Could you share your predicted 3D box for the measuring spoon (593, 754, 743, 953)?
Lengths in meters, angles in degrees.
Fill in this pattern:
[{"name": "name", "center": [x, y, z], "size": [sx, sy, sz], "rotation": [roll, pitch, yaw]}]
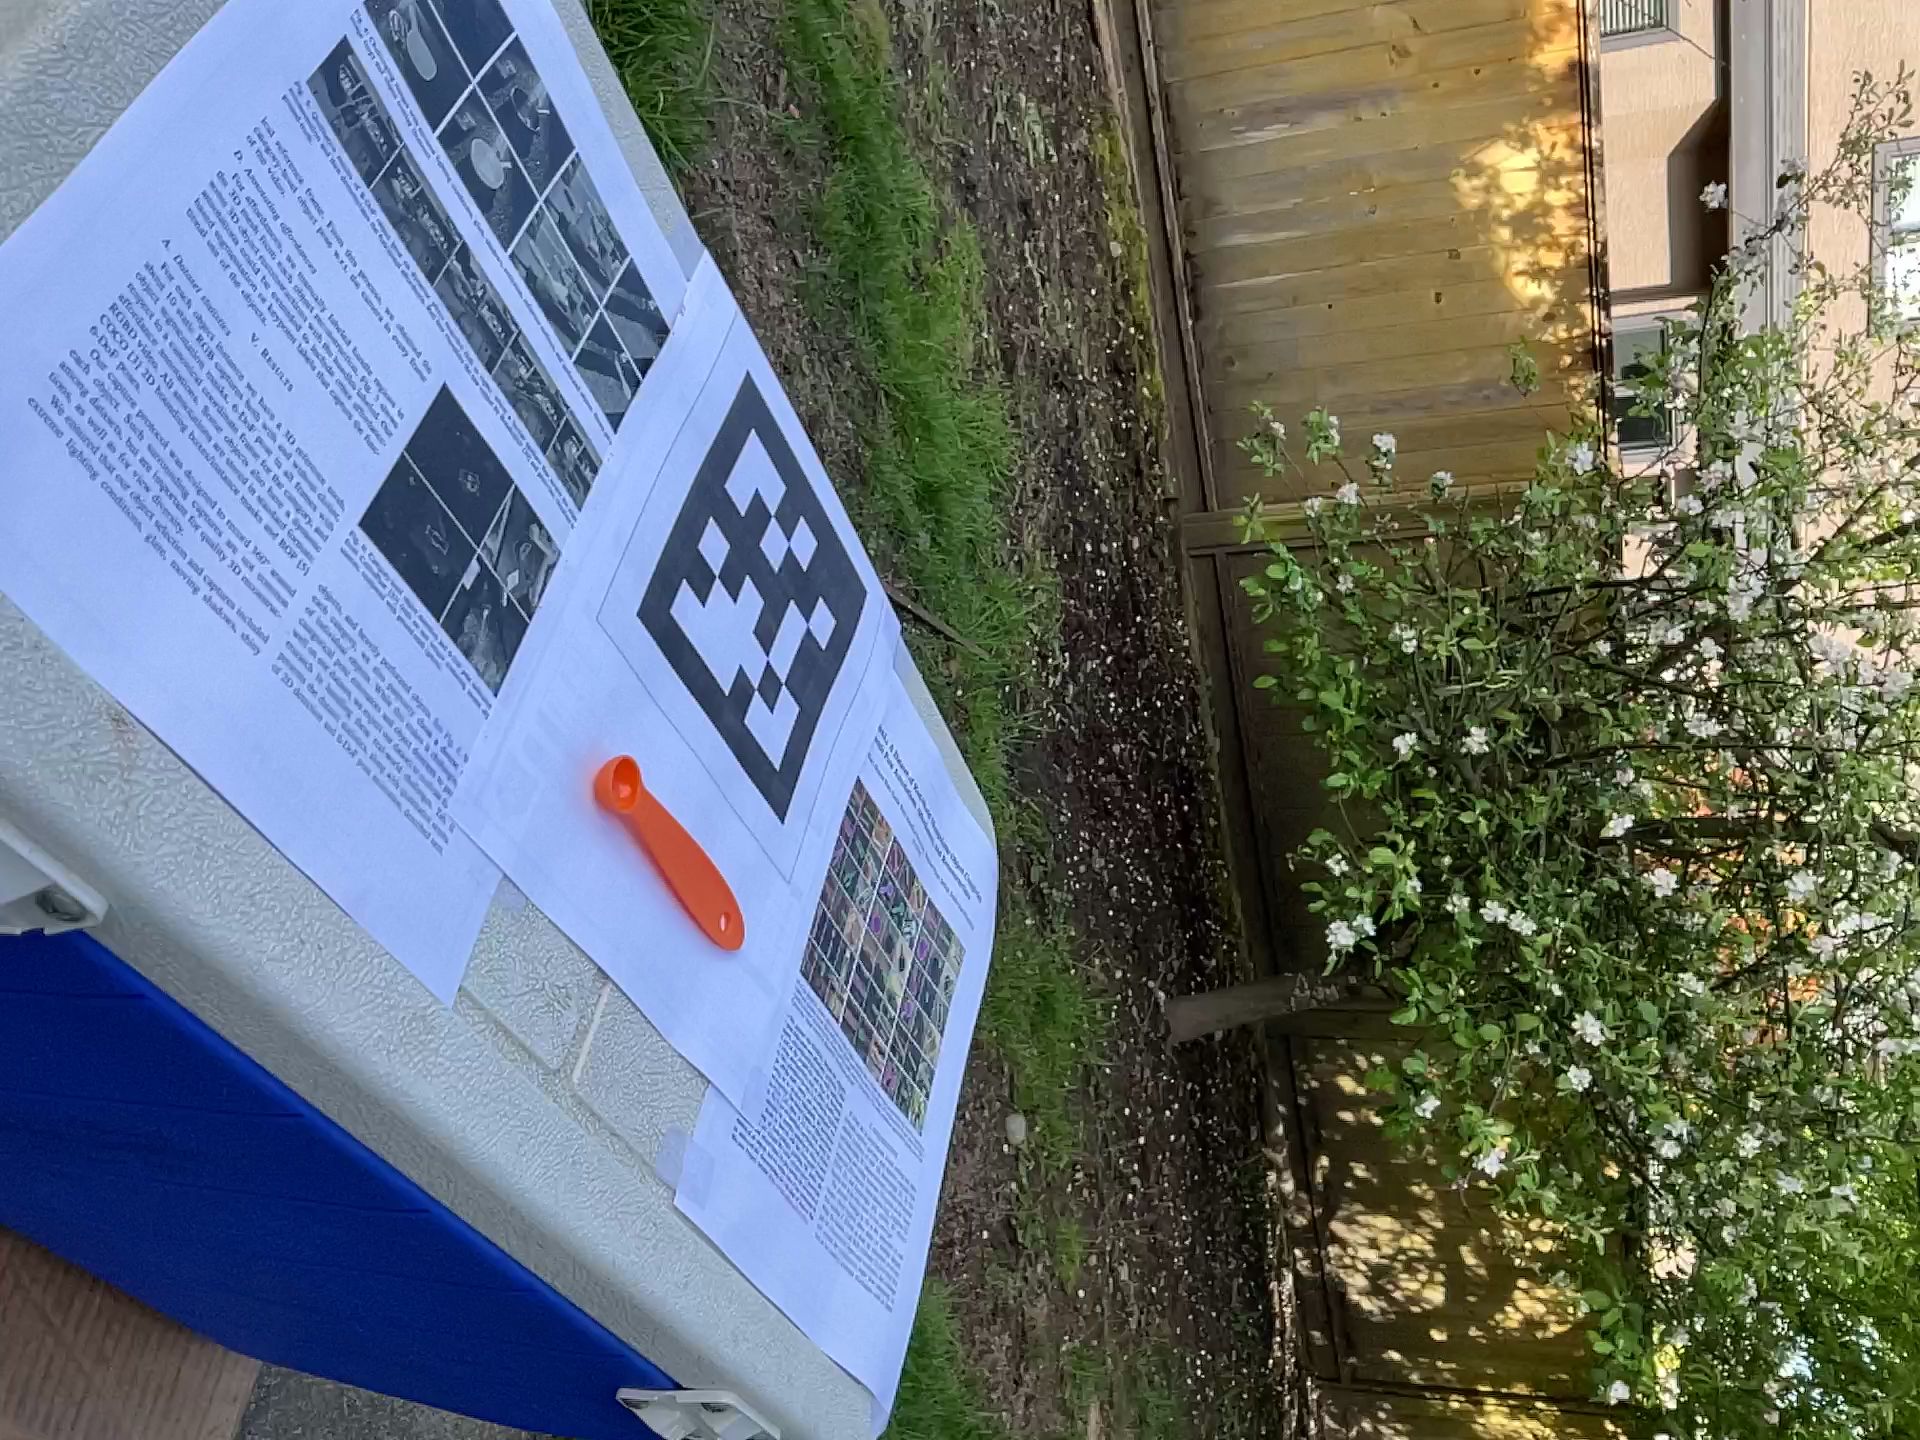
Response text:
[{"name": "measuring spoon", "center": [-0.101, 0.050, 0.559], "size": [0.116, 0.011, 0.021], "rotation": [67, 29, -50]}]
